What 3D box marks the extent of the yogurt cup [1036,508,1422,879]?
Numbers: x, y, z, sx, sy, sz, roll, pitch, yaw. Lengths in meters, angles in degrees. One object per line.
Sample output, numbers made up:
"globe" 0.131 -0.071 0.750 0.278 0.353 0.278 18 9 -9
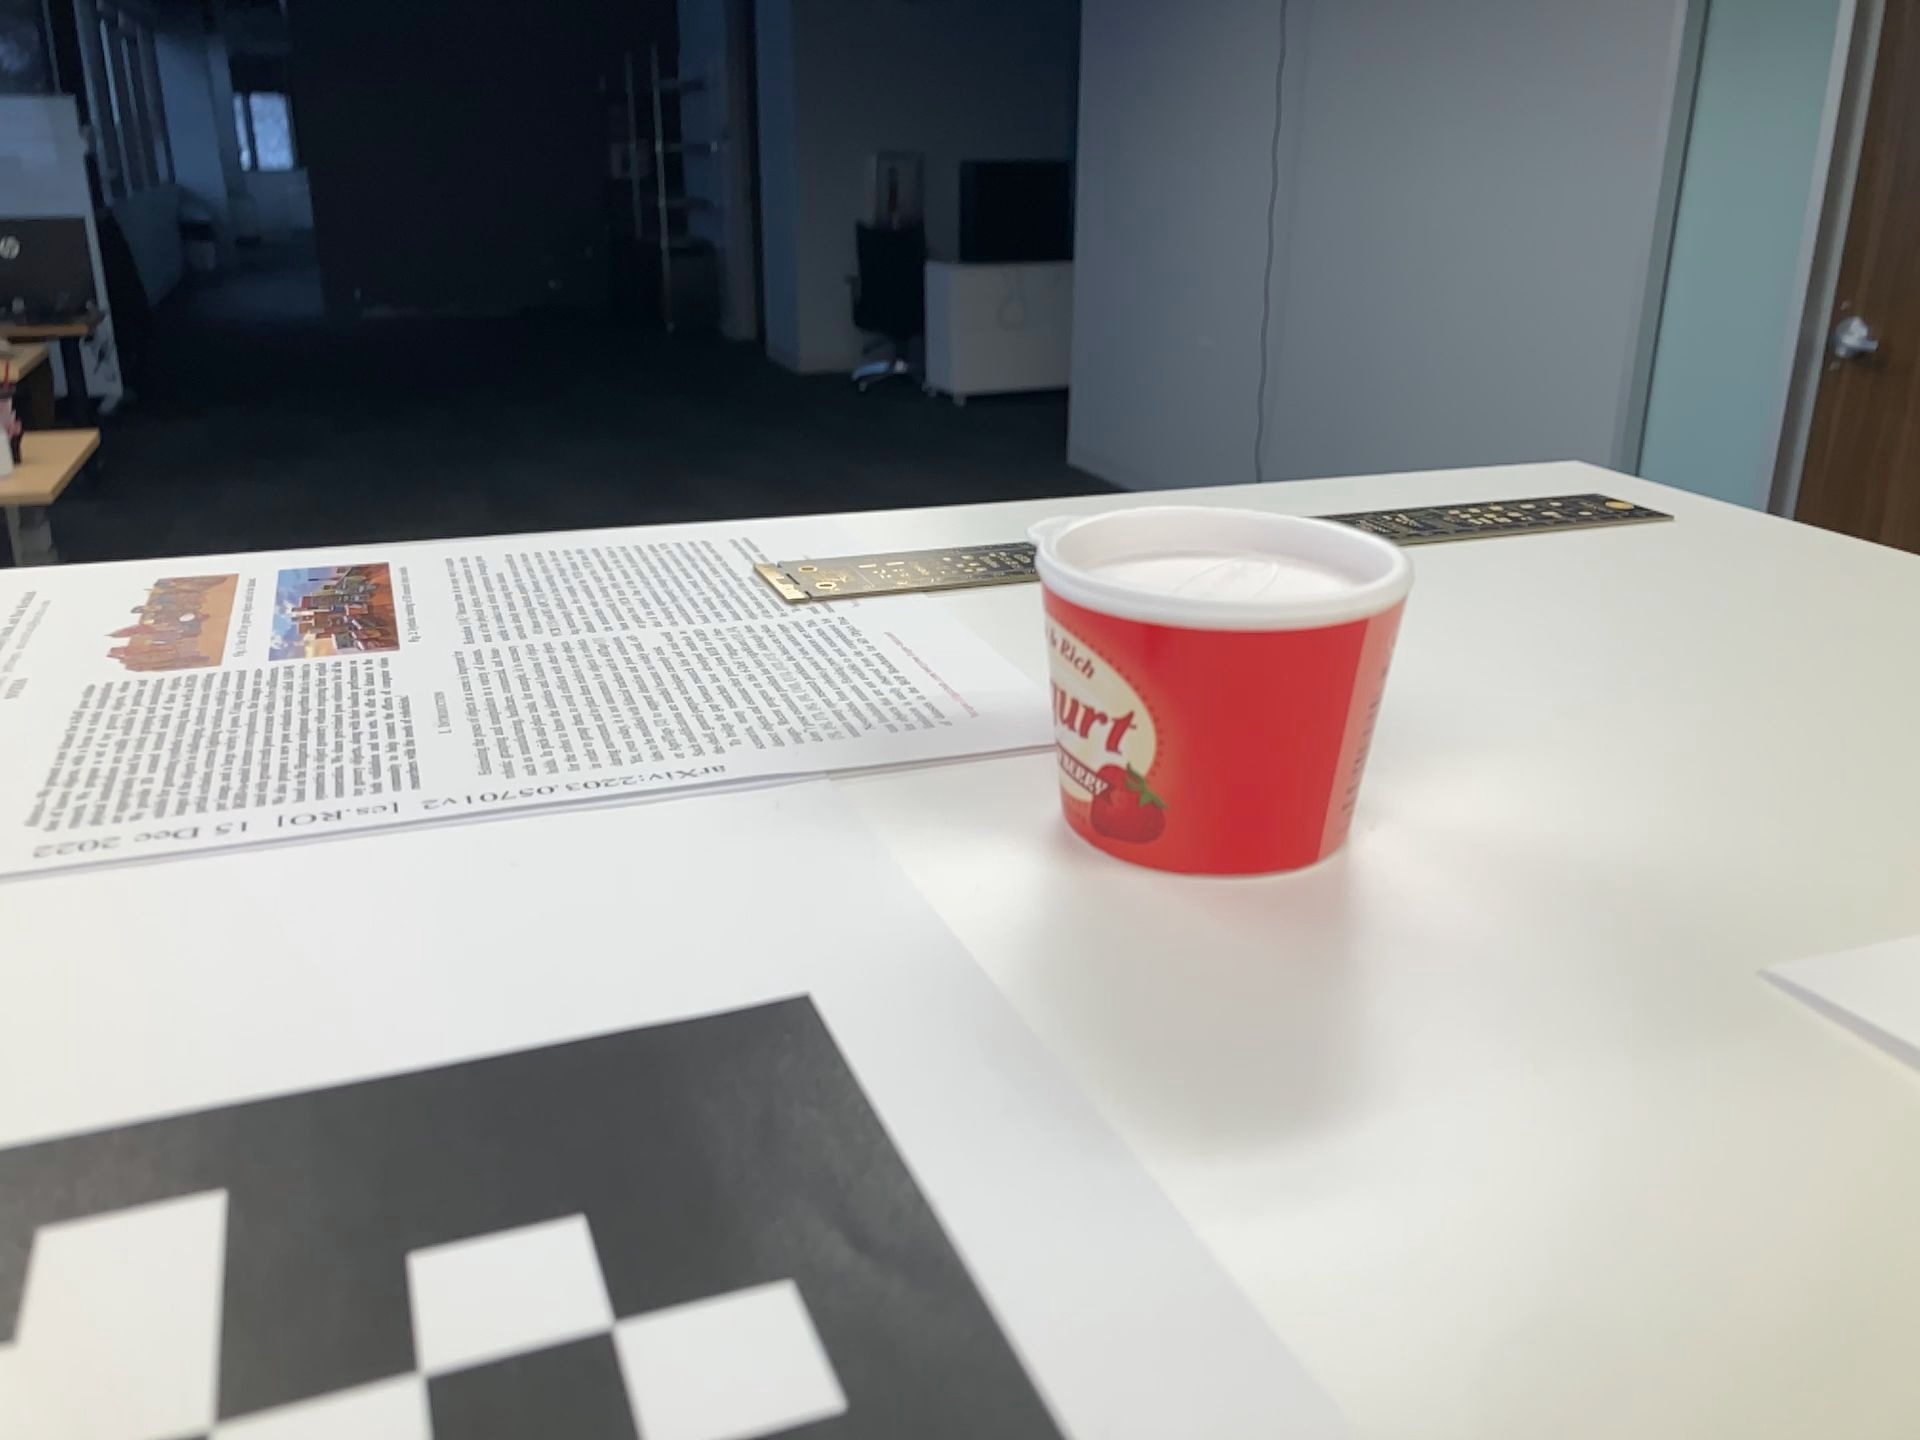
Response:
"yogurt cup" 0.047 -0.006 0.293 0.072 0.054 0.072 2 21 -1
